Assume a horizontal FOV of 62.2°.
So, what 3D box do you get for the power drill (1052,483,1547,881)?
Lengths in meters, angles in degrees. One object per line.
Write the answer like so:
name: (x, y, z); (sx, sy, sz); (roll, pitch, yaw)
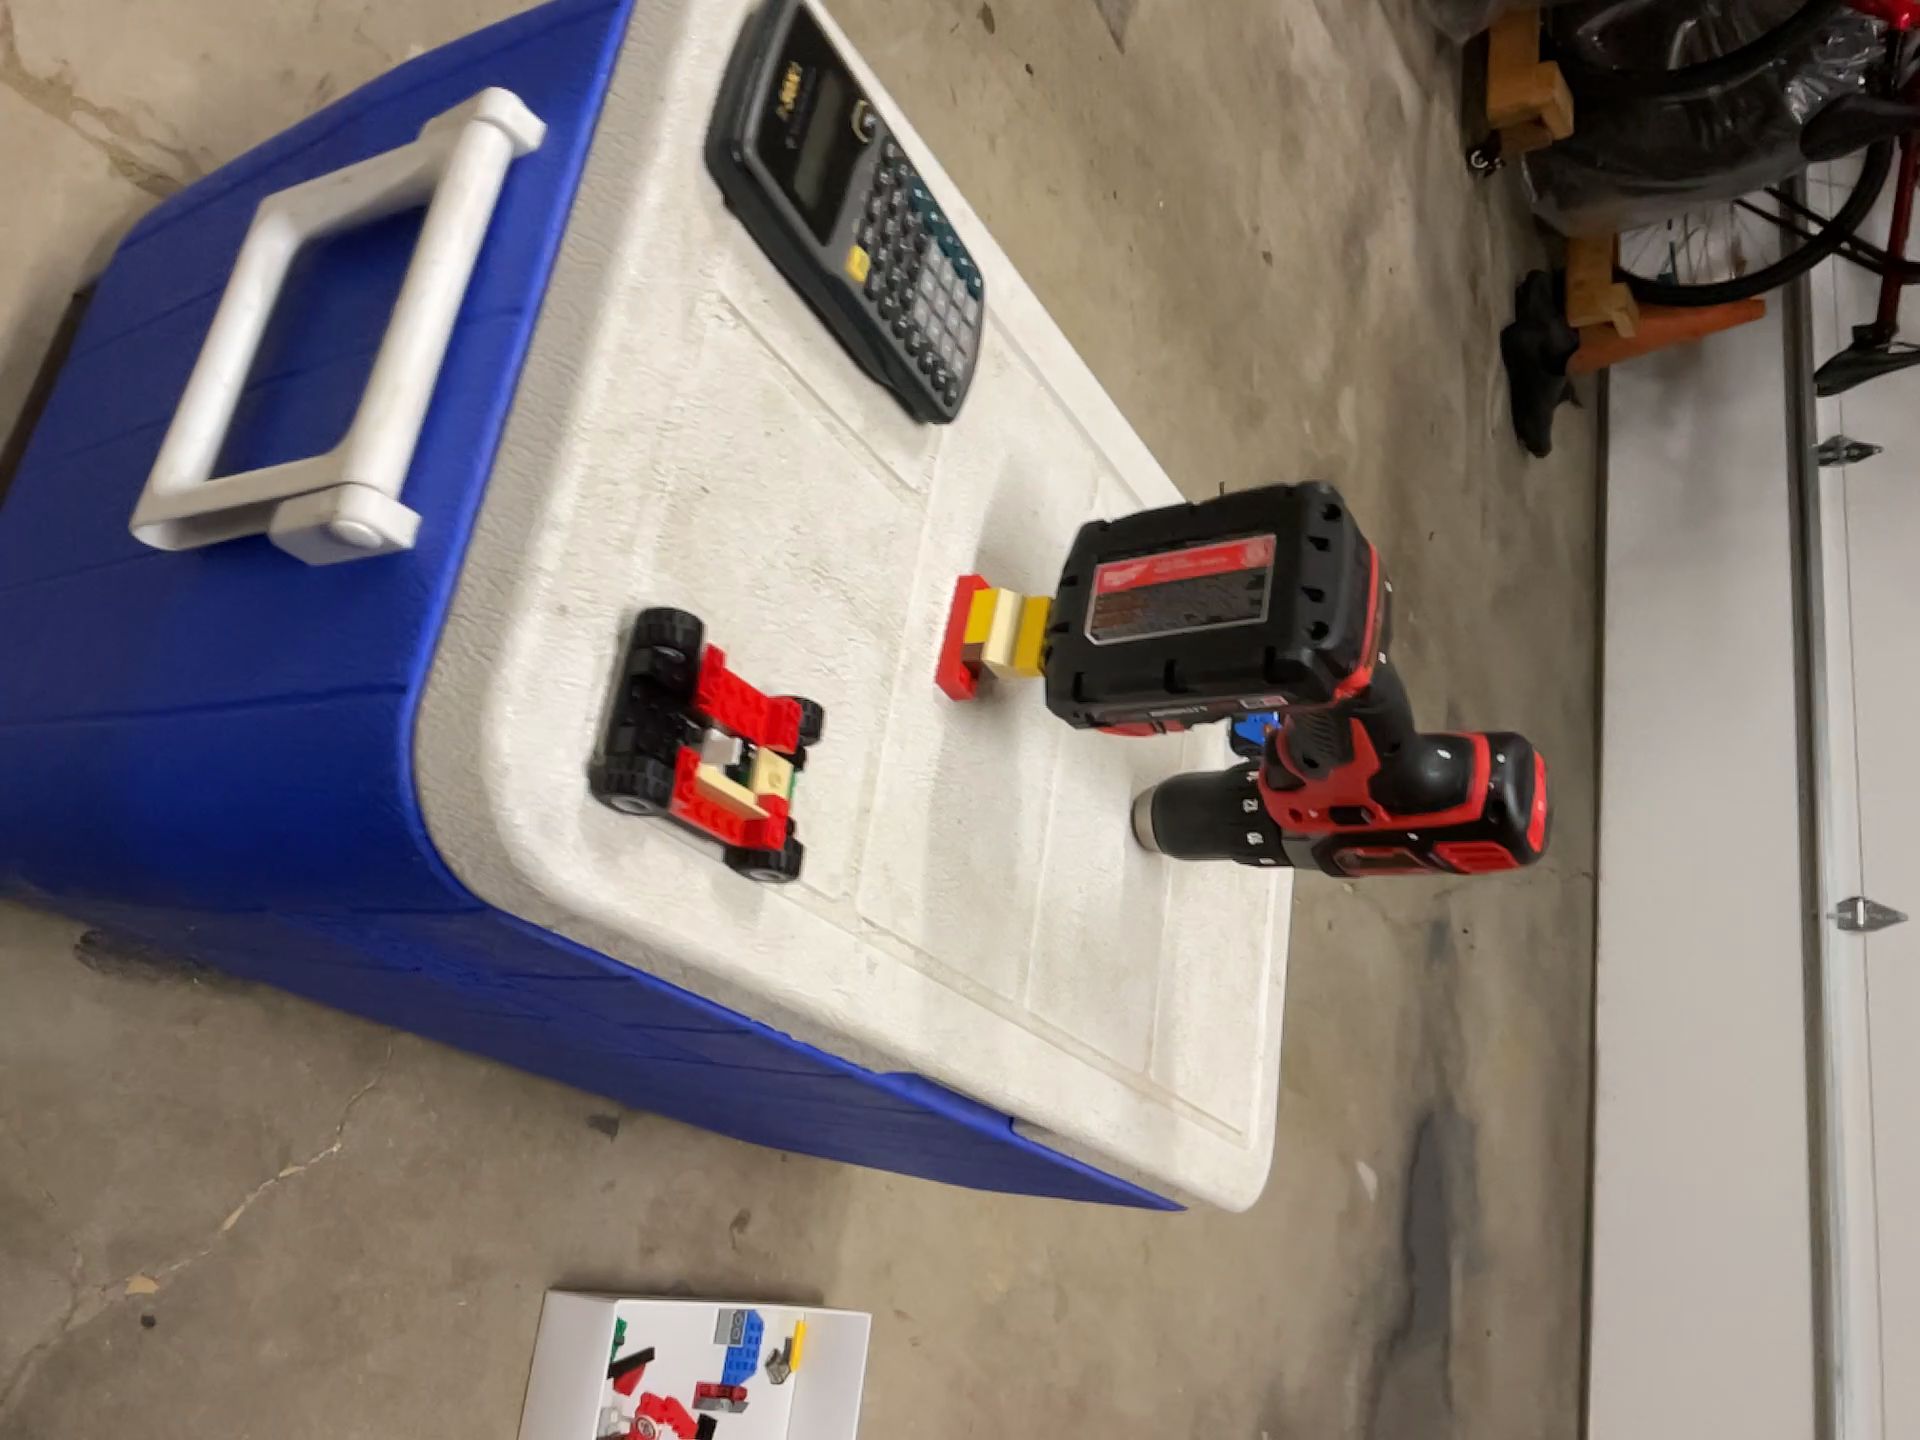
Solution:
power drill: (0.124, 0.006, 0.670); (0.226, 0.187, 0.080); (40, 52, -45)
